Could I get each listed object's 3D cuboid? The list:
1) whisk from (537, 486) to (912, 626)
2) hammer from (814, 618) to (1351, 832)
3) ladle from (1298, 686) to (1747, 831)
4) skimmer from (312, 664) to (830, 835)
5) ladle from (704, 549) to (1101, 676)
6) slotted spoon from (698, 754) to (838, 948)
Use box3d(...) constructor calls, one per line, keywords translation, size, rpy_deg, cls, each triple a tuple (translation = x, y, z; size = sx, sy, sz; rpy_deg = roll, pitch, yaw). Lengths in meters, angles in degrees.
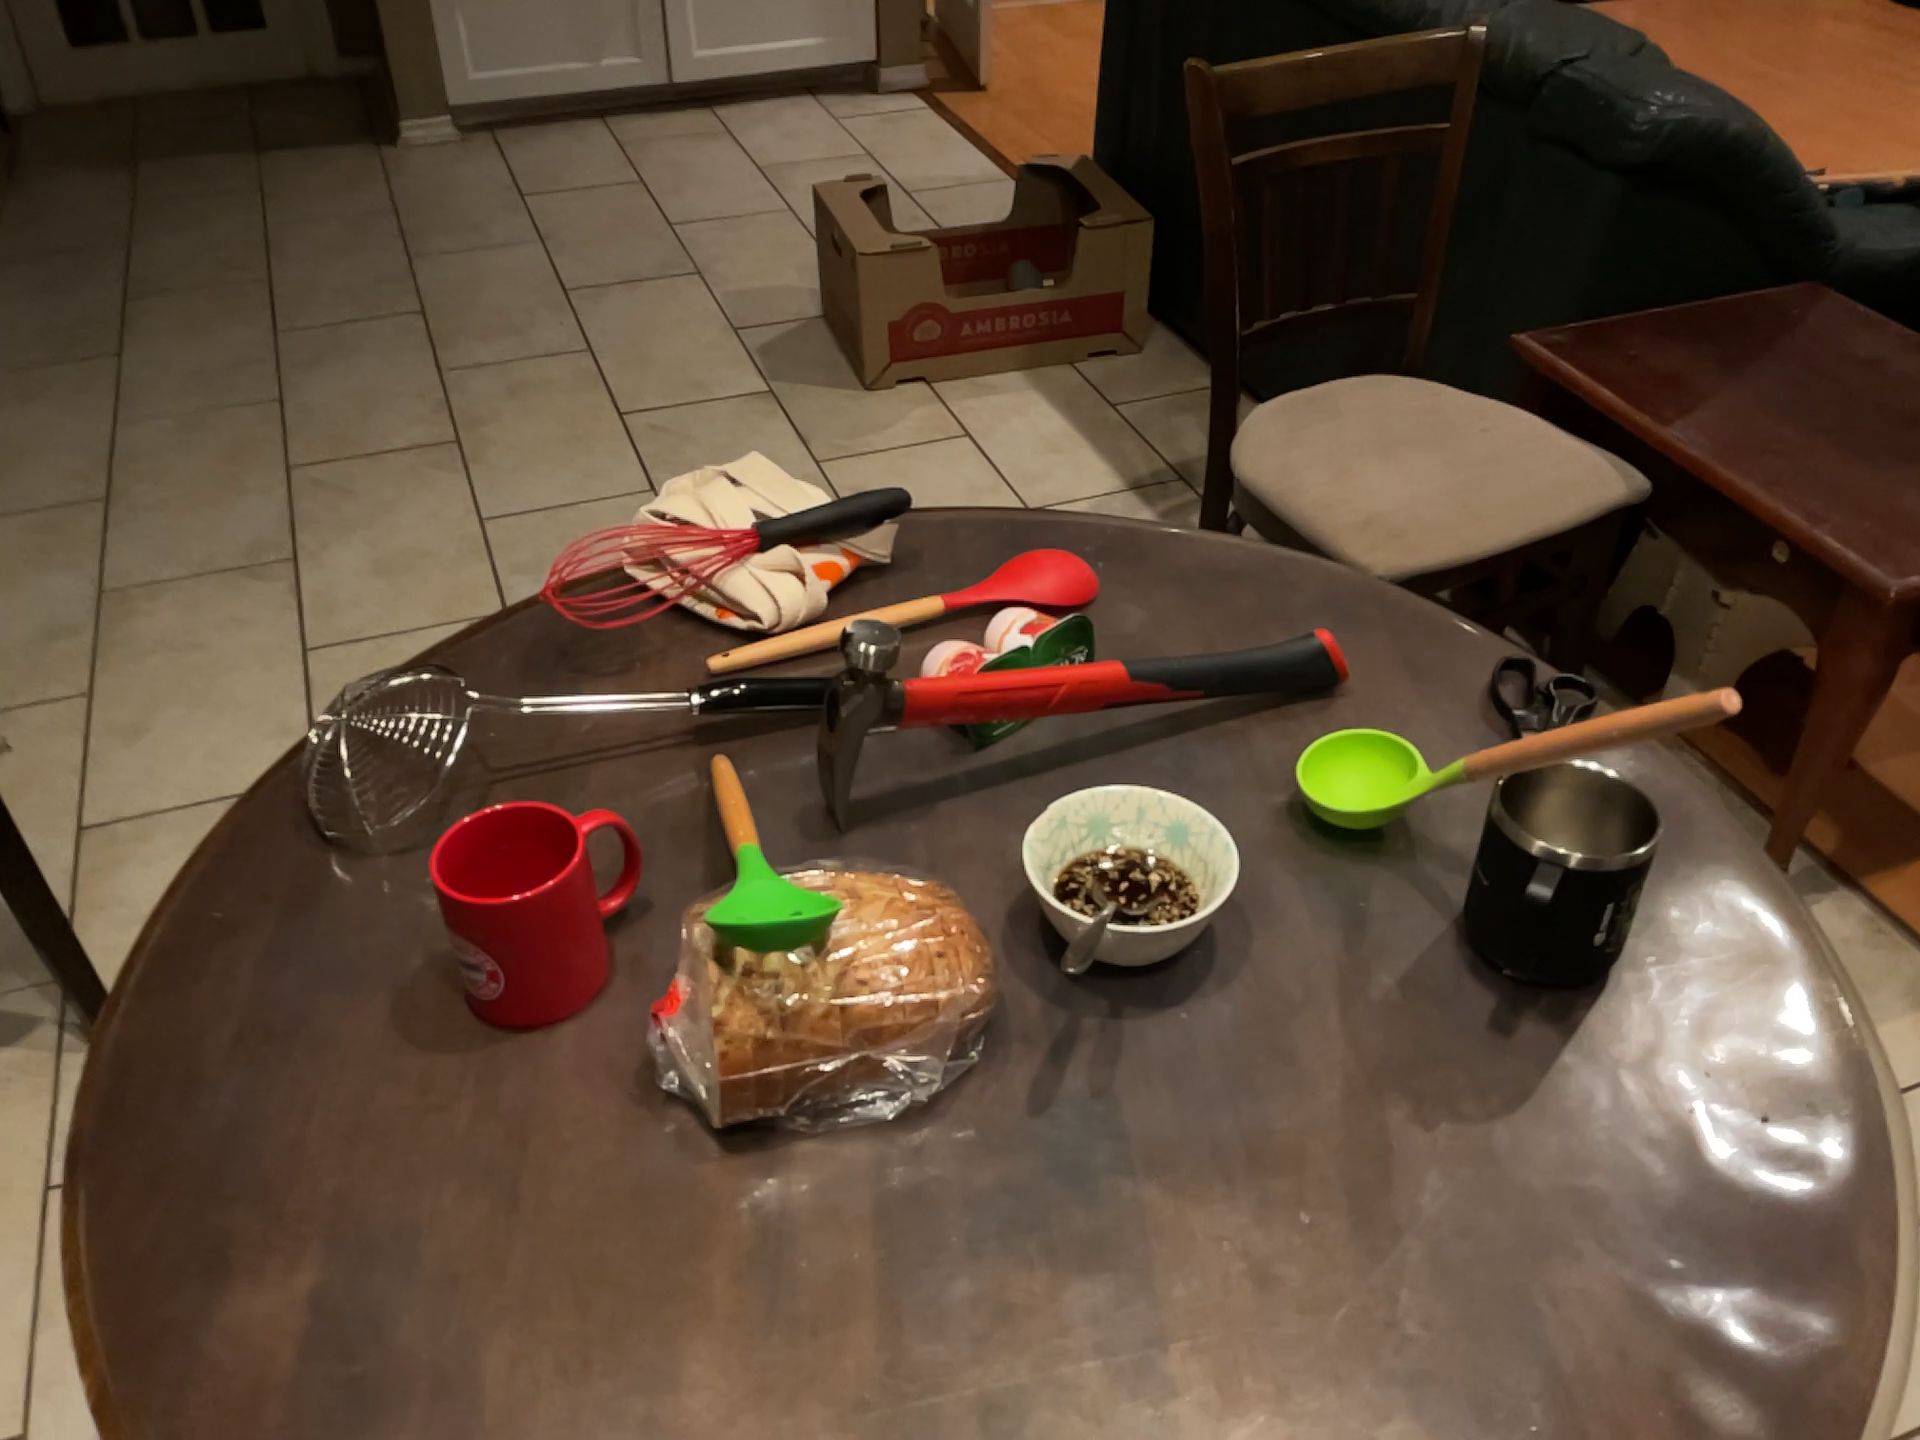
box3d(translation=(-0.168, -0.130, 1.168), size=(0.295, 0.073, 0.073), rpy_deg=(-19, 40, -23), cls="whisk")
box3d(translation=(0.091, -0.009, 1.052), size=(0.386, 0.143, 0.038), rpy_deg=(-5, 38, -25), cls="hammer")
box3d(translation=(0.298, 0.012, 0.884), size=(0.078, 0.320, 0.062), rpy_deg=(-38, 94, -24), cls="ladle")
box3d(translation=(-0.242, 0.011, 1.065), size=(0.363, 0.090, 0.127), rpy_deg=(-2, 45, -20), cls="skimmer")
box3d(translation=(-0.038, -0.080, 1.184), size=(0.315, 0.031, 0.069), rpy_deg=(-17, 40, -17), cls="ladle")
box3d(translation=(-0.123, 0.068, 0.909), size=(0.070, 0.031, 0.314), rpy_deg=(-4, 15, -13), cls="slotted spoon")
